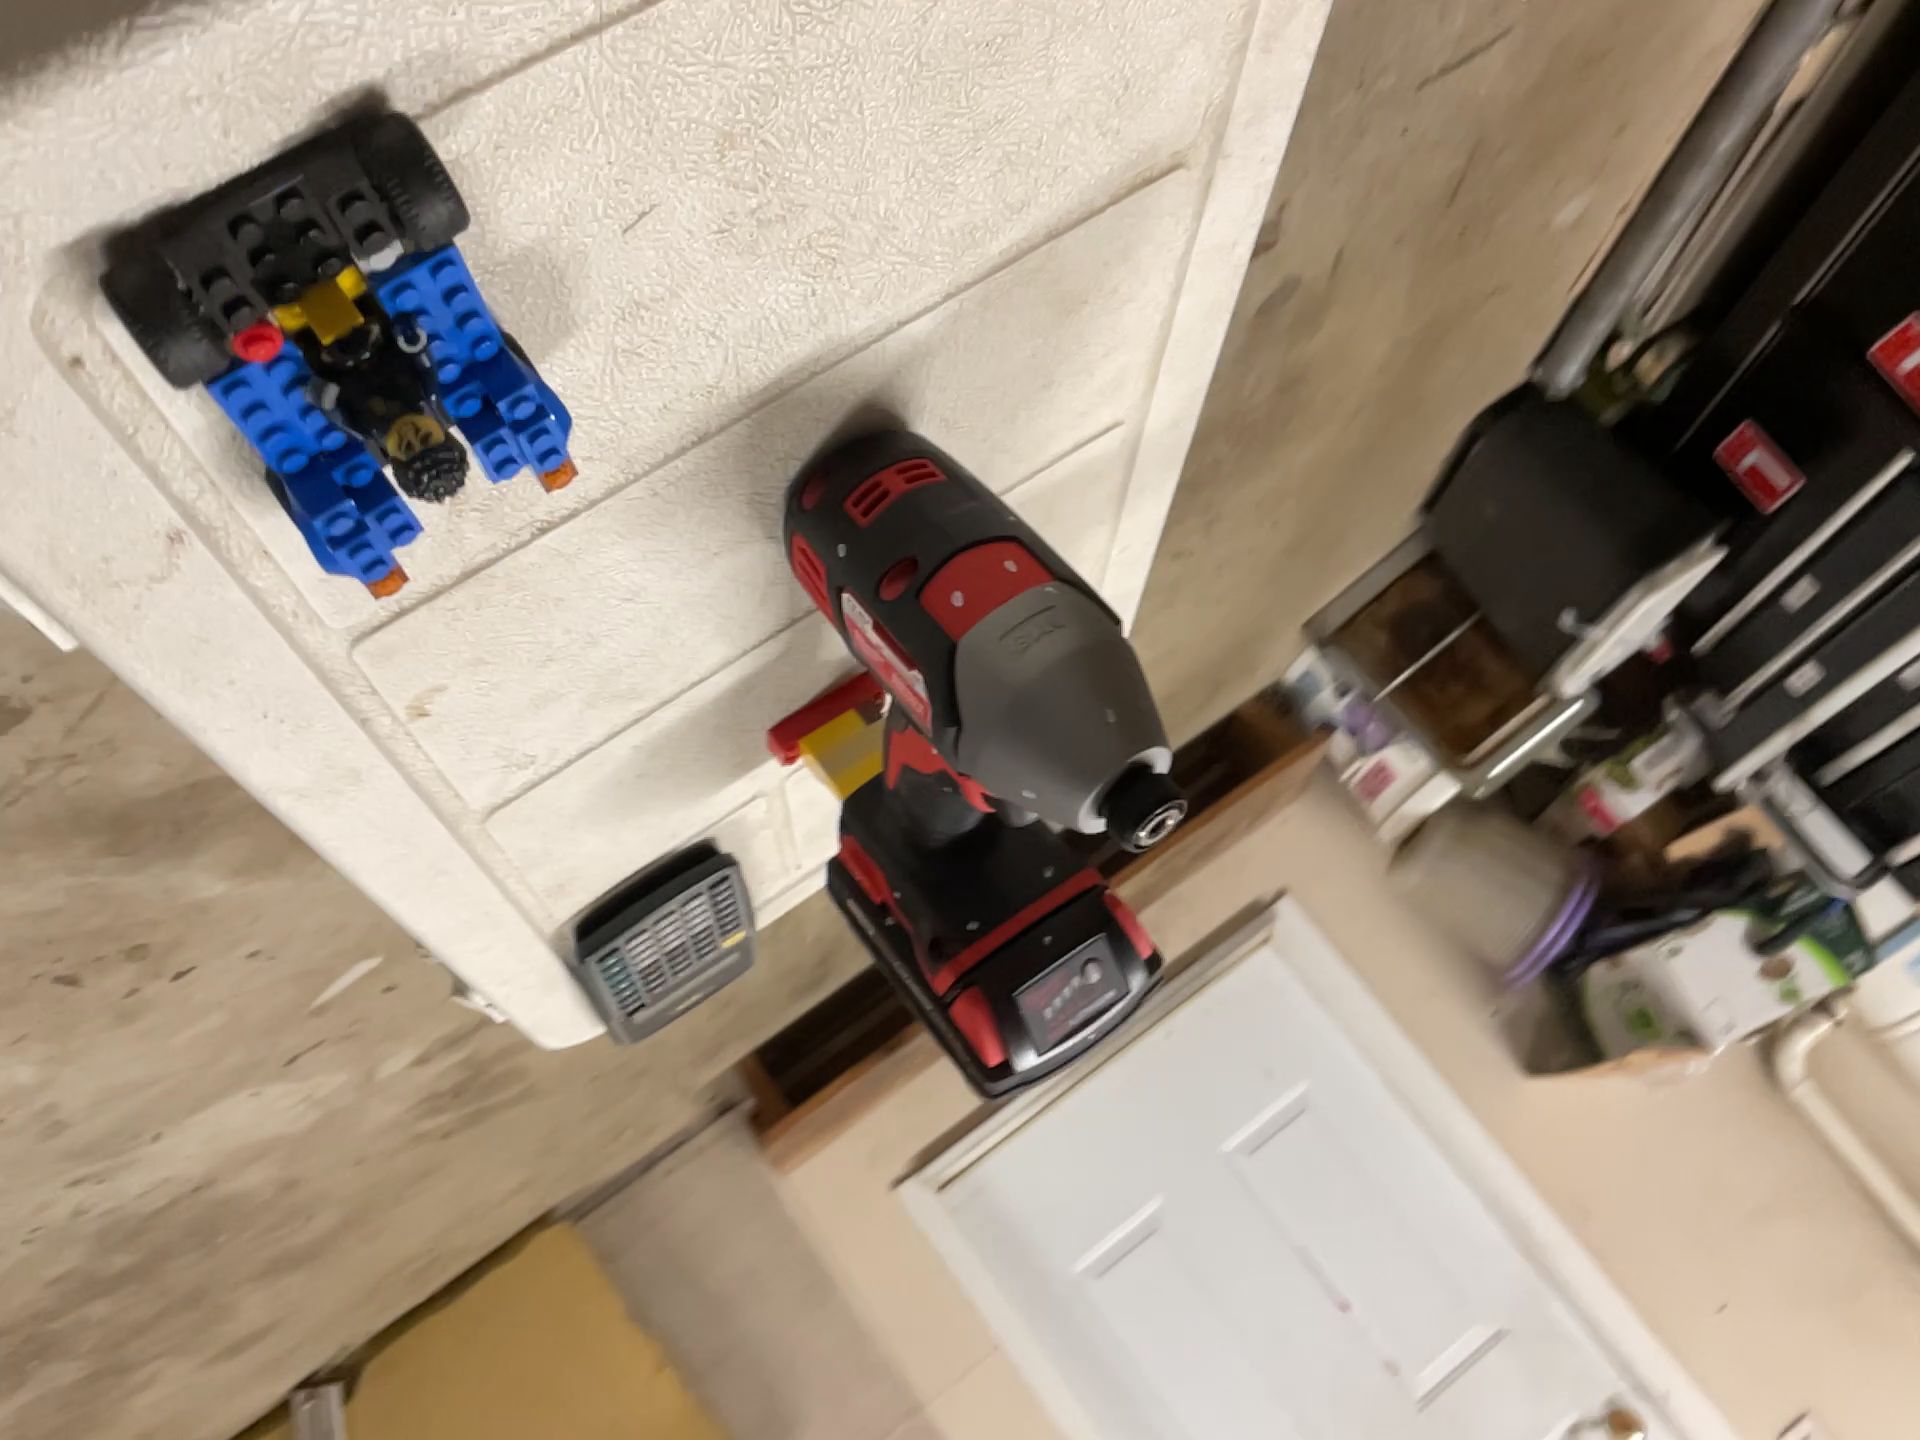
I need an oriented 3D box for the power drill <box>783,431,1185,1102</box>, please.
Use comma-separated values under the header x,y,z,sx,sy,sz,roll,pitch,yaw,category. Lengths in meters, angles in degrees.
x,y,z,sx,sy,sz,roll,pitch,yaw,category
0.011,0.026,0.503,0.078,0.143,0.219,-32,150,-18,power drill
